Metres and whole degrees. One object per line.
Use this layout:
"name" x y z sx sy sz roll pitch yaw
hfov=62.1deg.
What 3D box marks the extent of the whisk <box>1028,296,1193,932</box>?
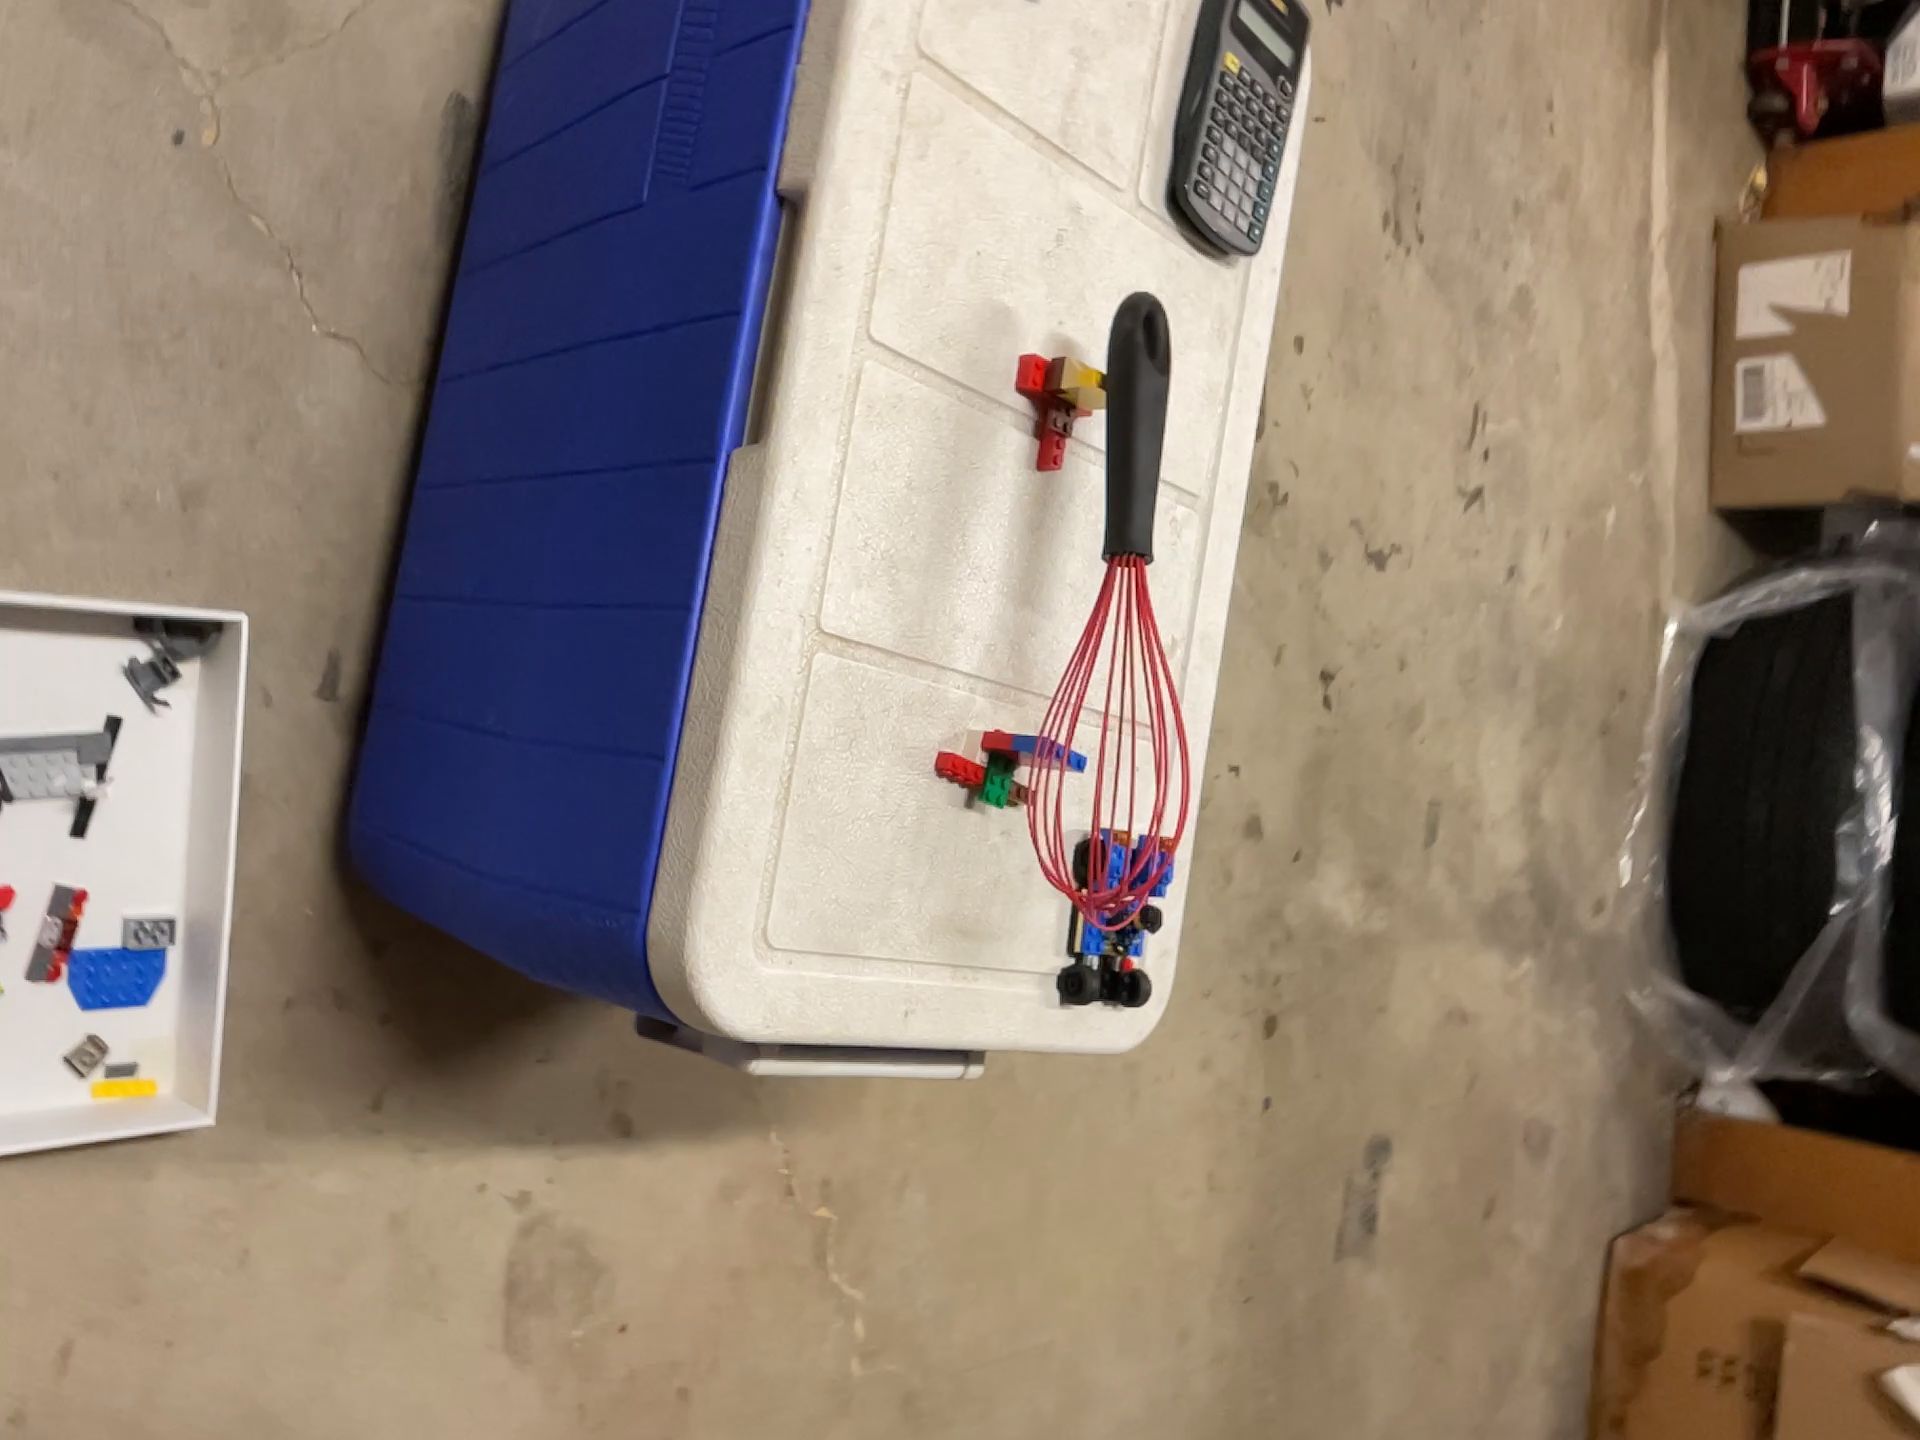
"whisk" 0.073 -0.054 0.715 0.073 0.073 0.296 16 73 -42
